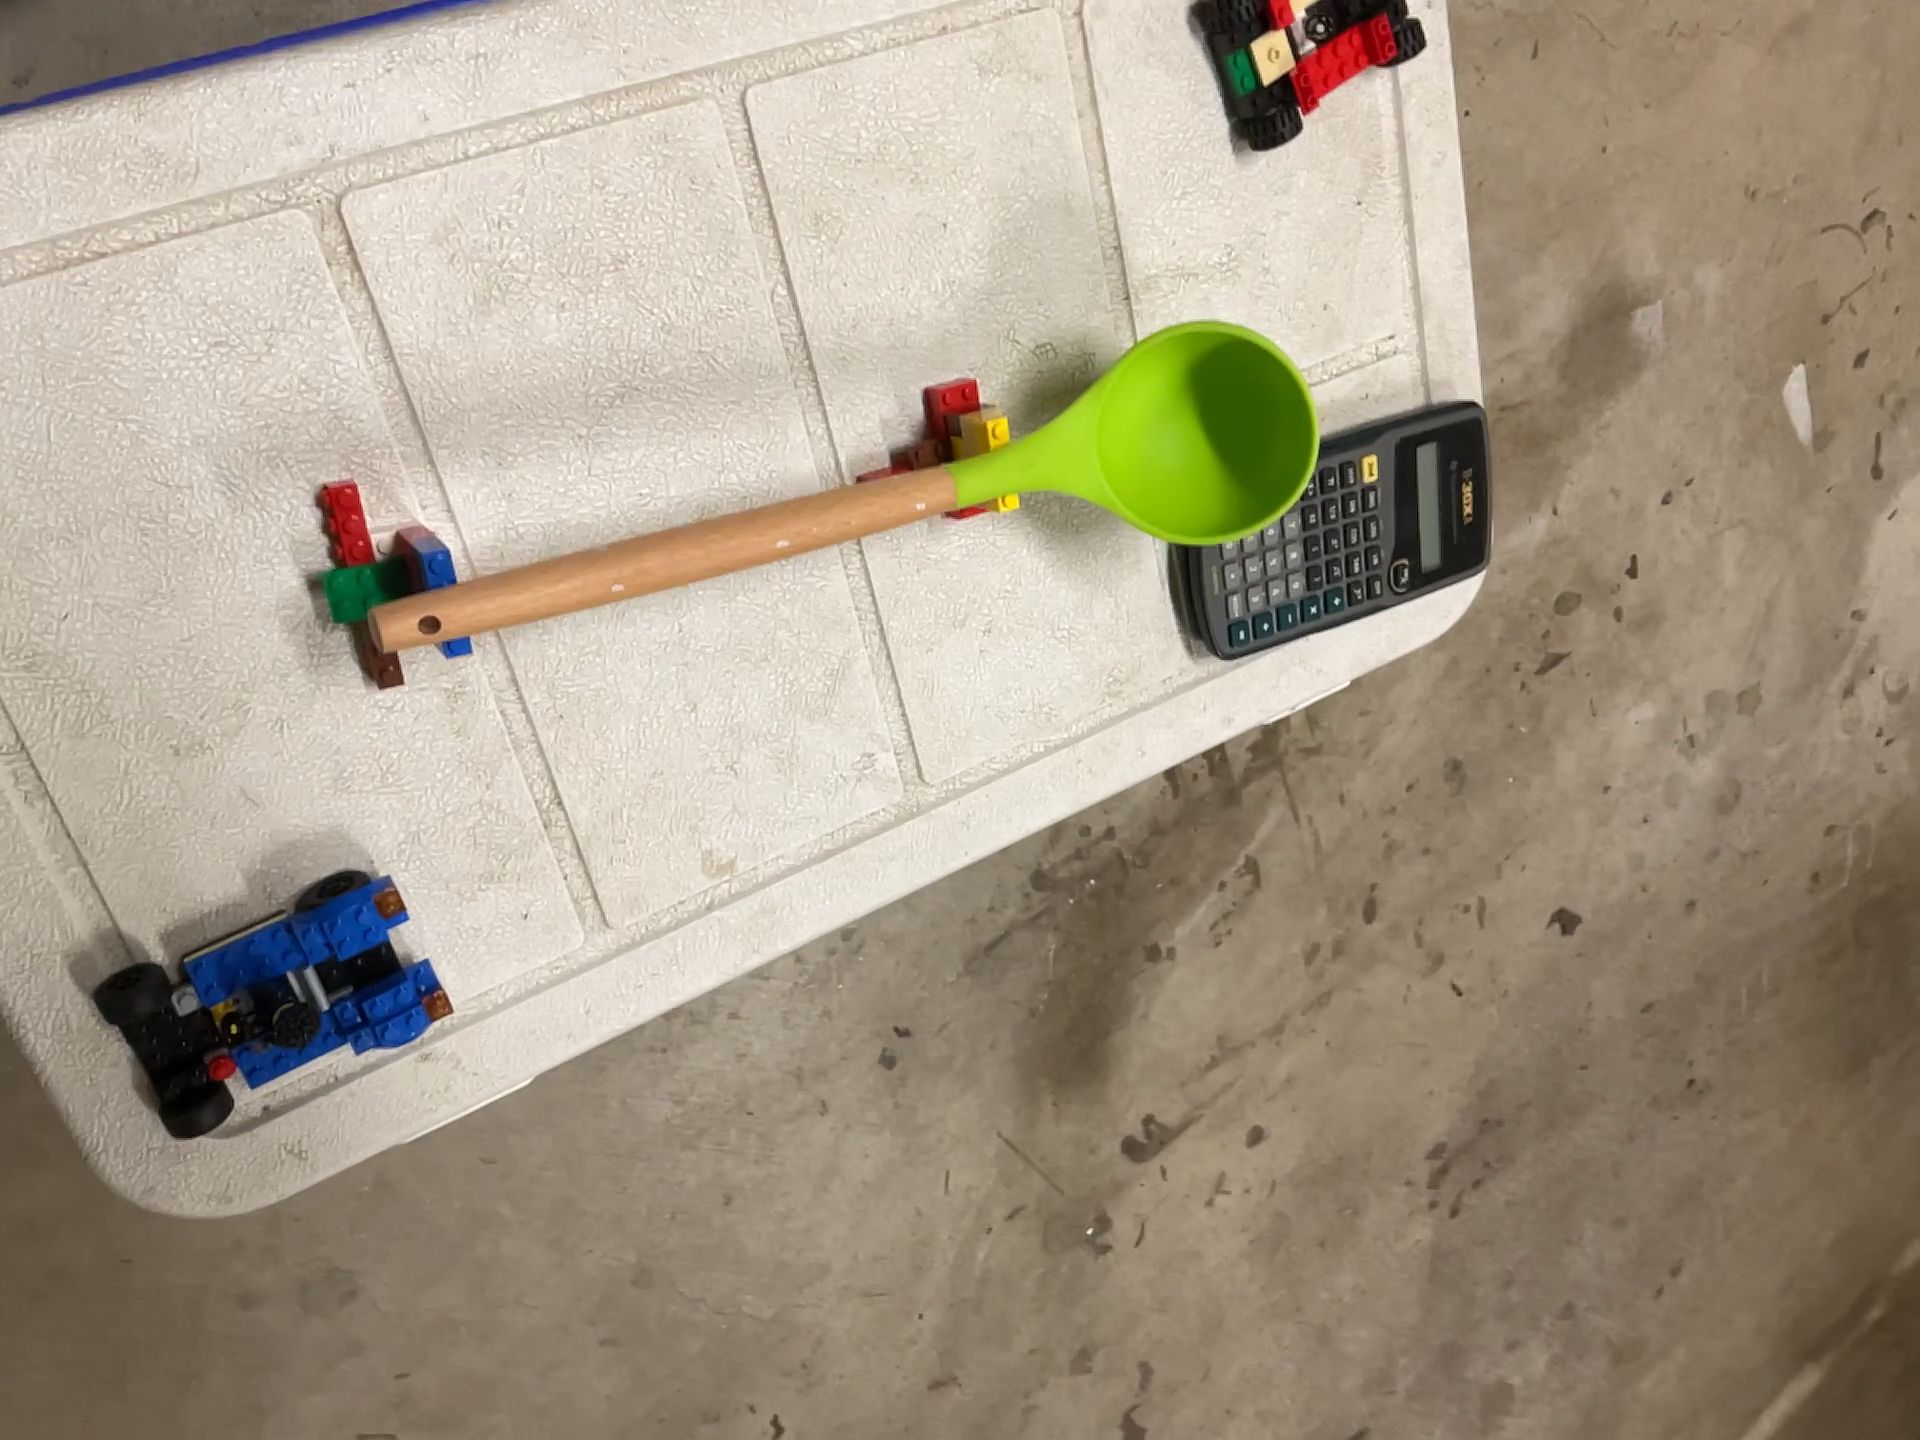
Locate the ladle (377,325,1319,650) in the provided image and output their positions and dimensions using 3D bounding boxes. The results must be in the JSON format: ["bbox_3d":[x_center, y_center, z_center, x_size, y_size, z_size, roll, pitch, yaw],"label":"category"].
[{"bbox_3d":[-0.020,-0.067,0.510,0.320,0.062,0.078,-18,114,-26],"label":"ladle"}]
